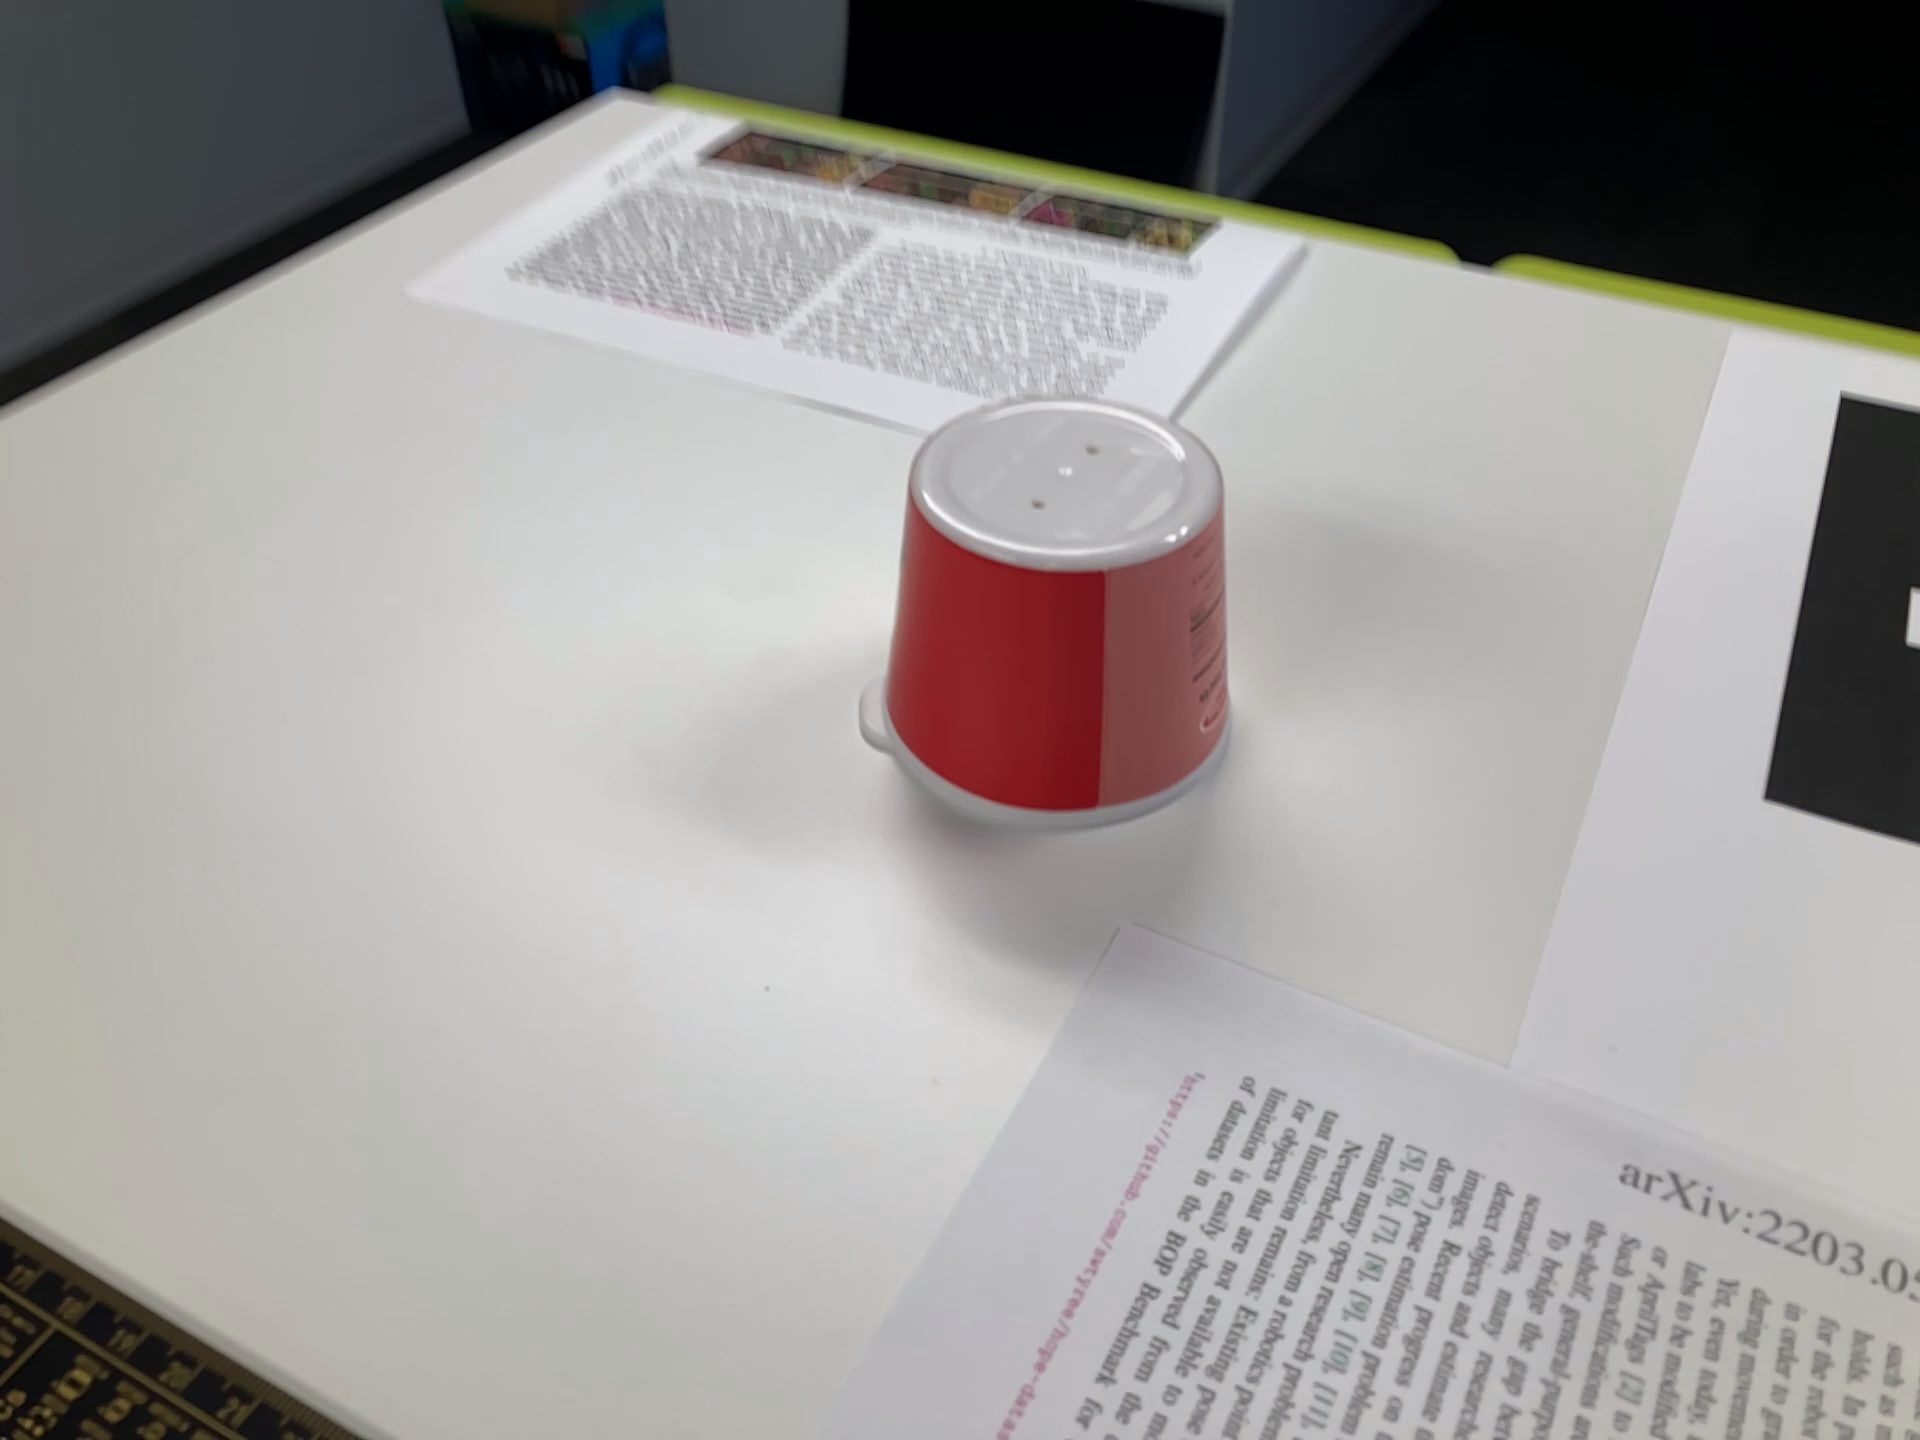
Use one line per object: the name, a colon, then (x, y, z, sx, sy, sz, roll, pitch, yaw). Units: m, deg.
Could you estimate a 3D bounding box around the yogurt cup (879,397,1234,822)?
yogurt cup: (0.019, -0.023, 0.290, 0.072, 0.054, 0.072, 0, 40, 0)
